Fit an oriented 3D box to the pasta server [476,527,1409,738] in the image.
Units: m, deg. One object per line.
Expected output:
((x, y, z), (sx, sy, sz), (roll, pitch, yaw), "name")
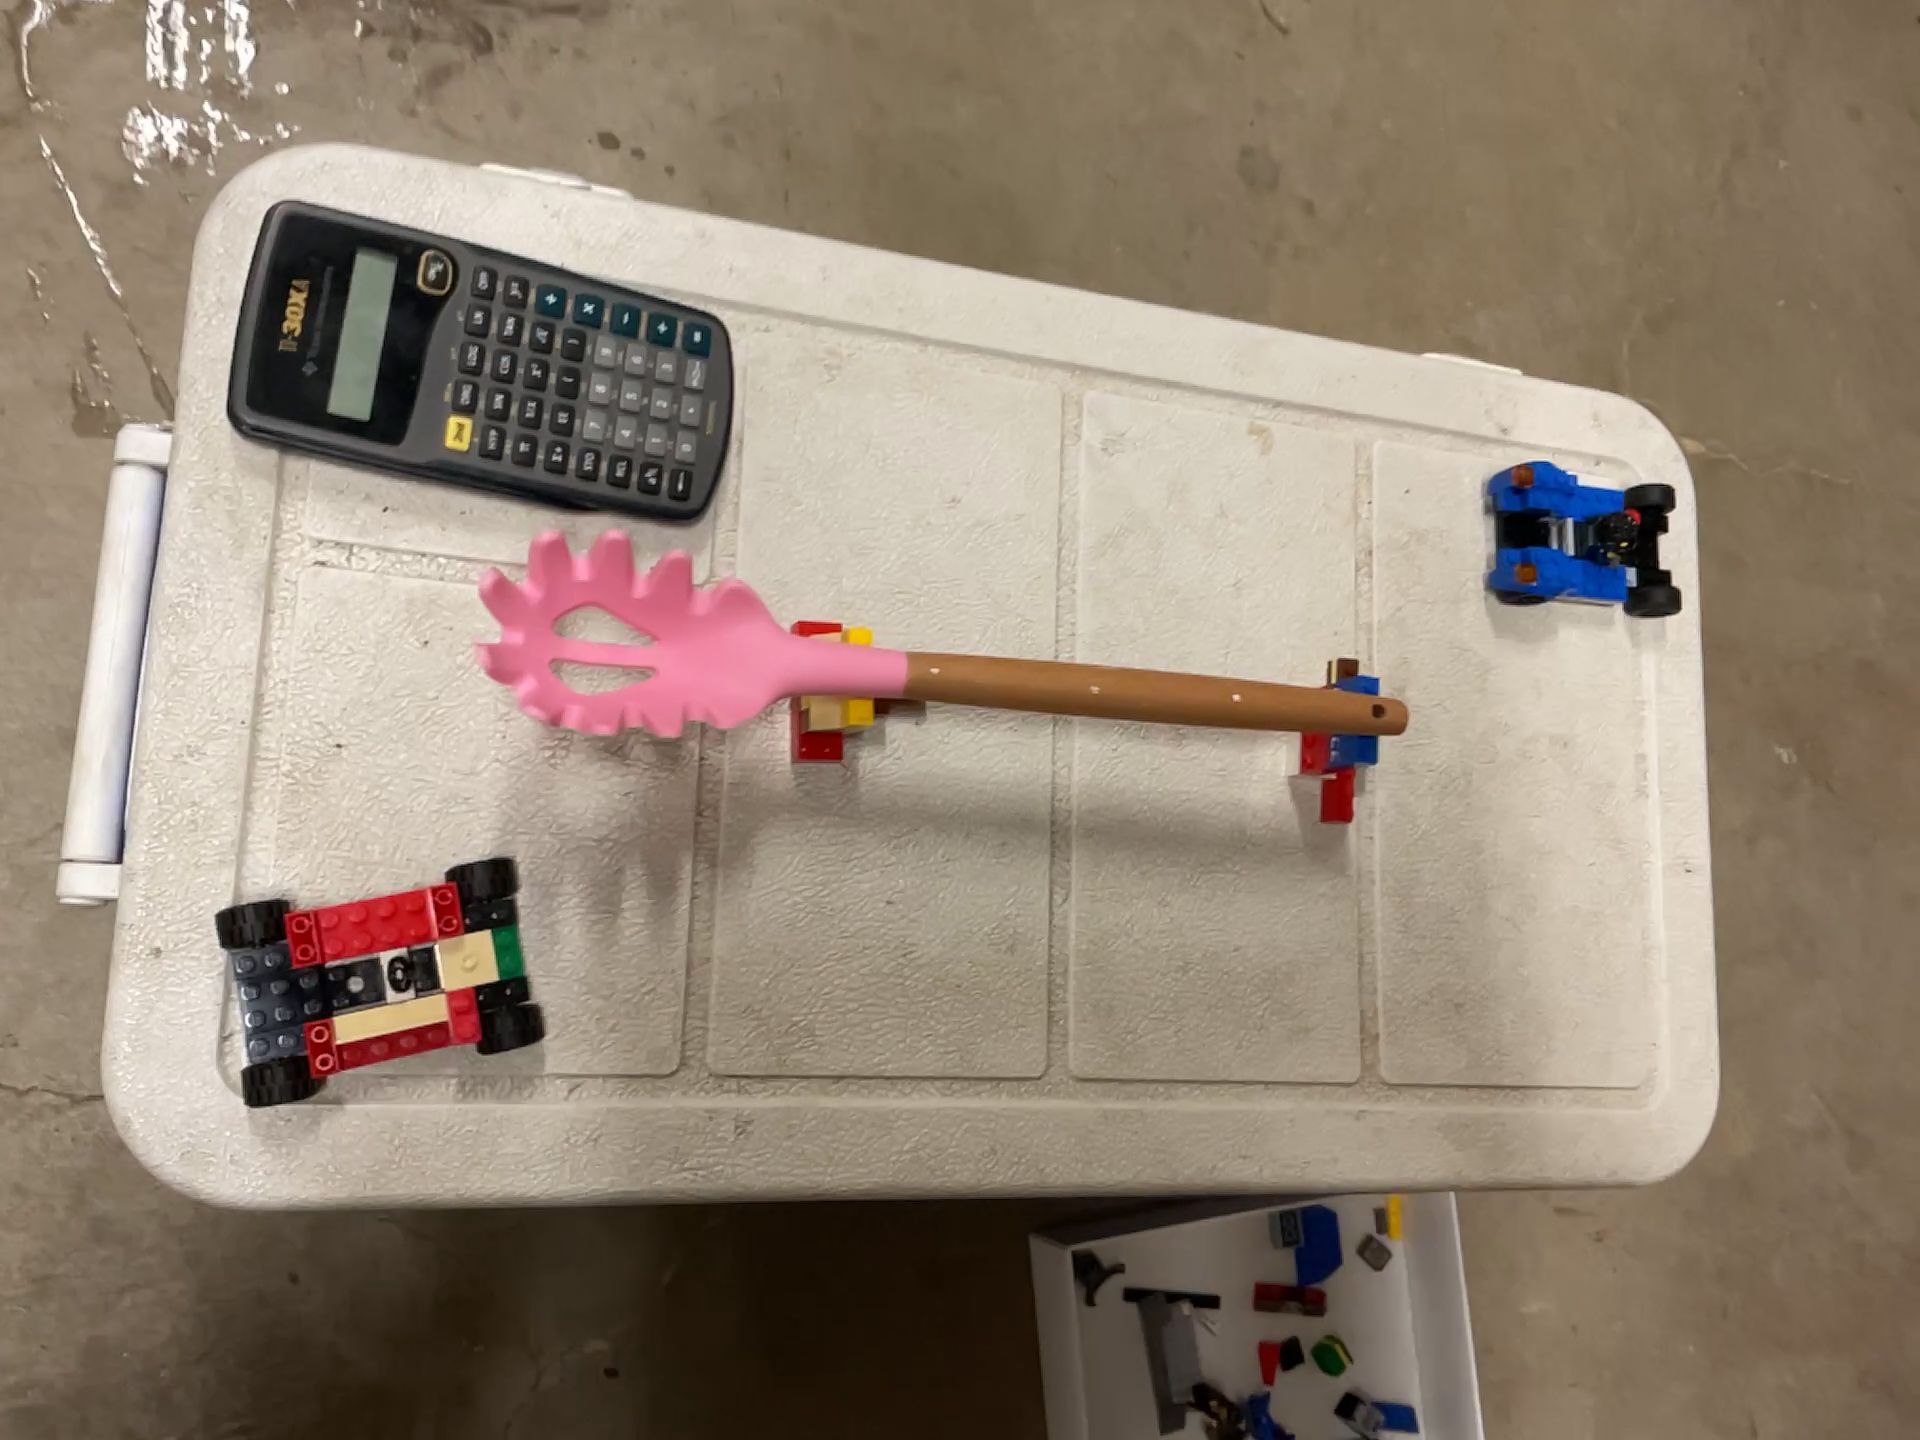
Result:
((0.010, -0.014, 0.507), (0.316, 0.040, 0.060), (5, 81, -19), "pasta server")
